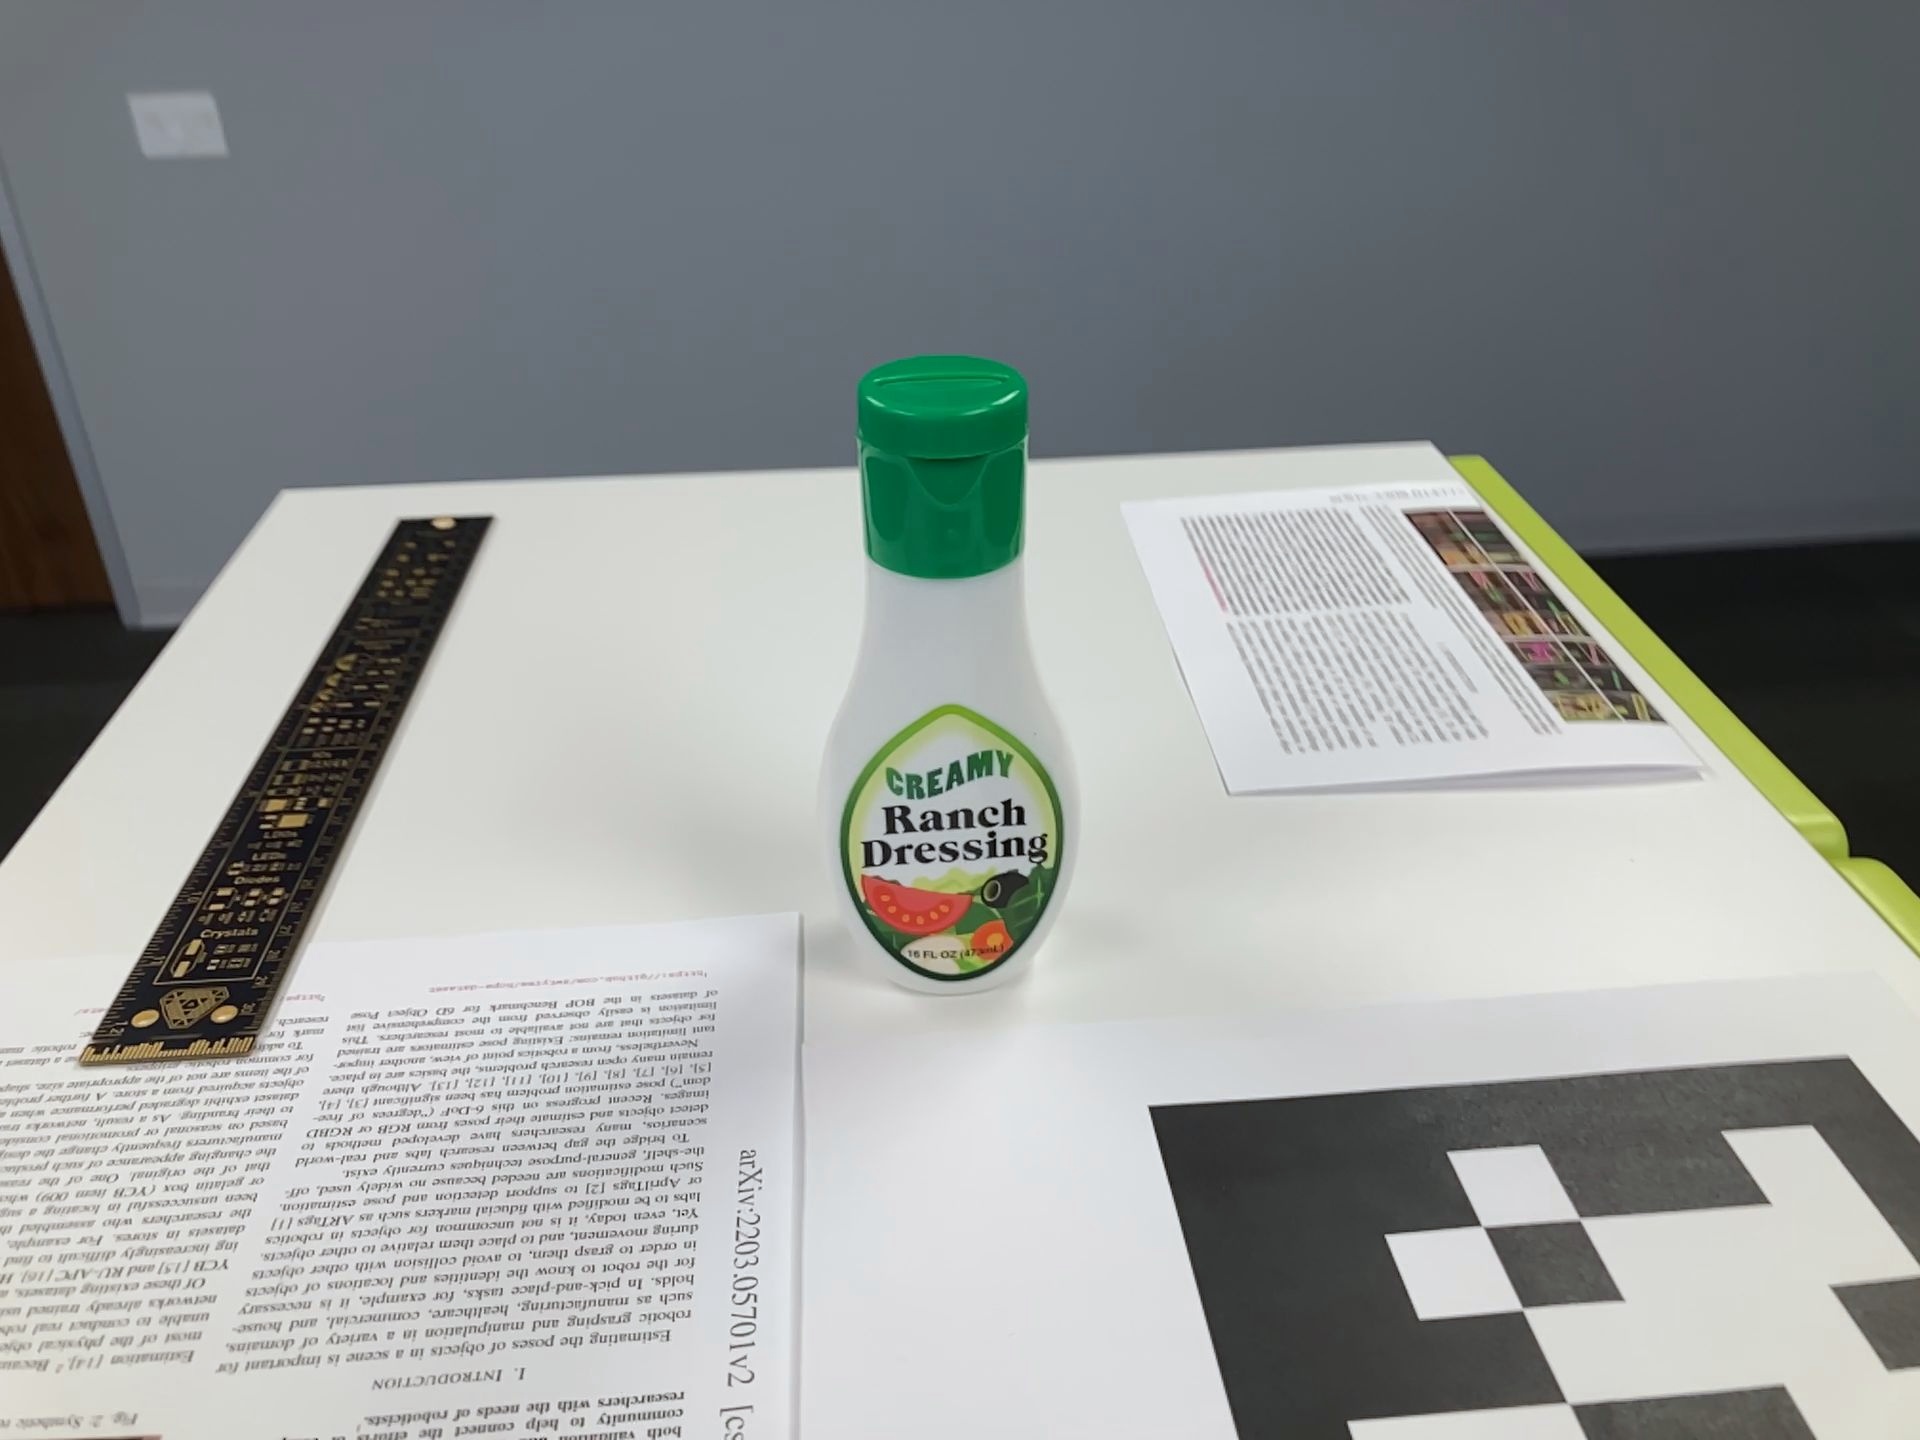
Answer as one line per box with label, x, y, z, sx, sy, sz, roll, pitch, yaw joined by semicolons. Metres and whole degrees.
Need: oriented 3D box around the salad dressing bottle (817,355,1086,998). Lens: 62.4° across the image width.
salad dressing bottle;-0.003;-0.007;0.364;0.064;0.147;0.044;-3;30;-3
